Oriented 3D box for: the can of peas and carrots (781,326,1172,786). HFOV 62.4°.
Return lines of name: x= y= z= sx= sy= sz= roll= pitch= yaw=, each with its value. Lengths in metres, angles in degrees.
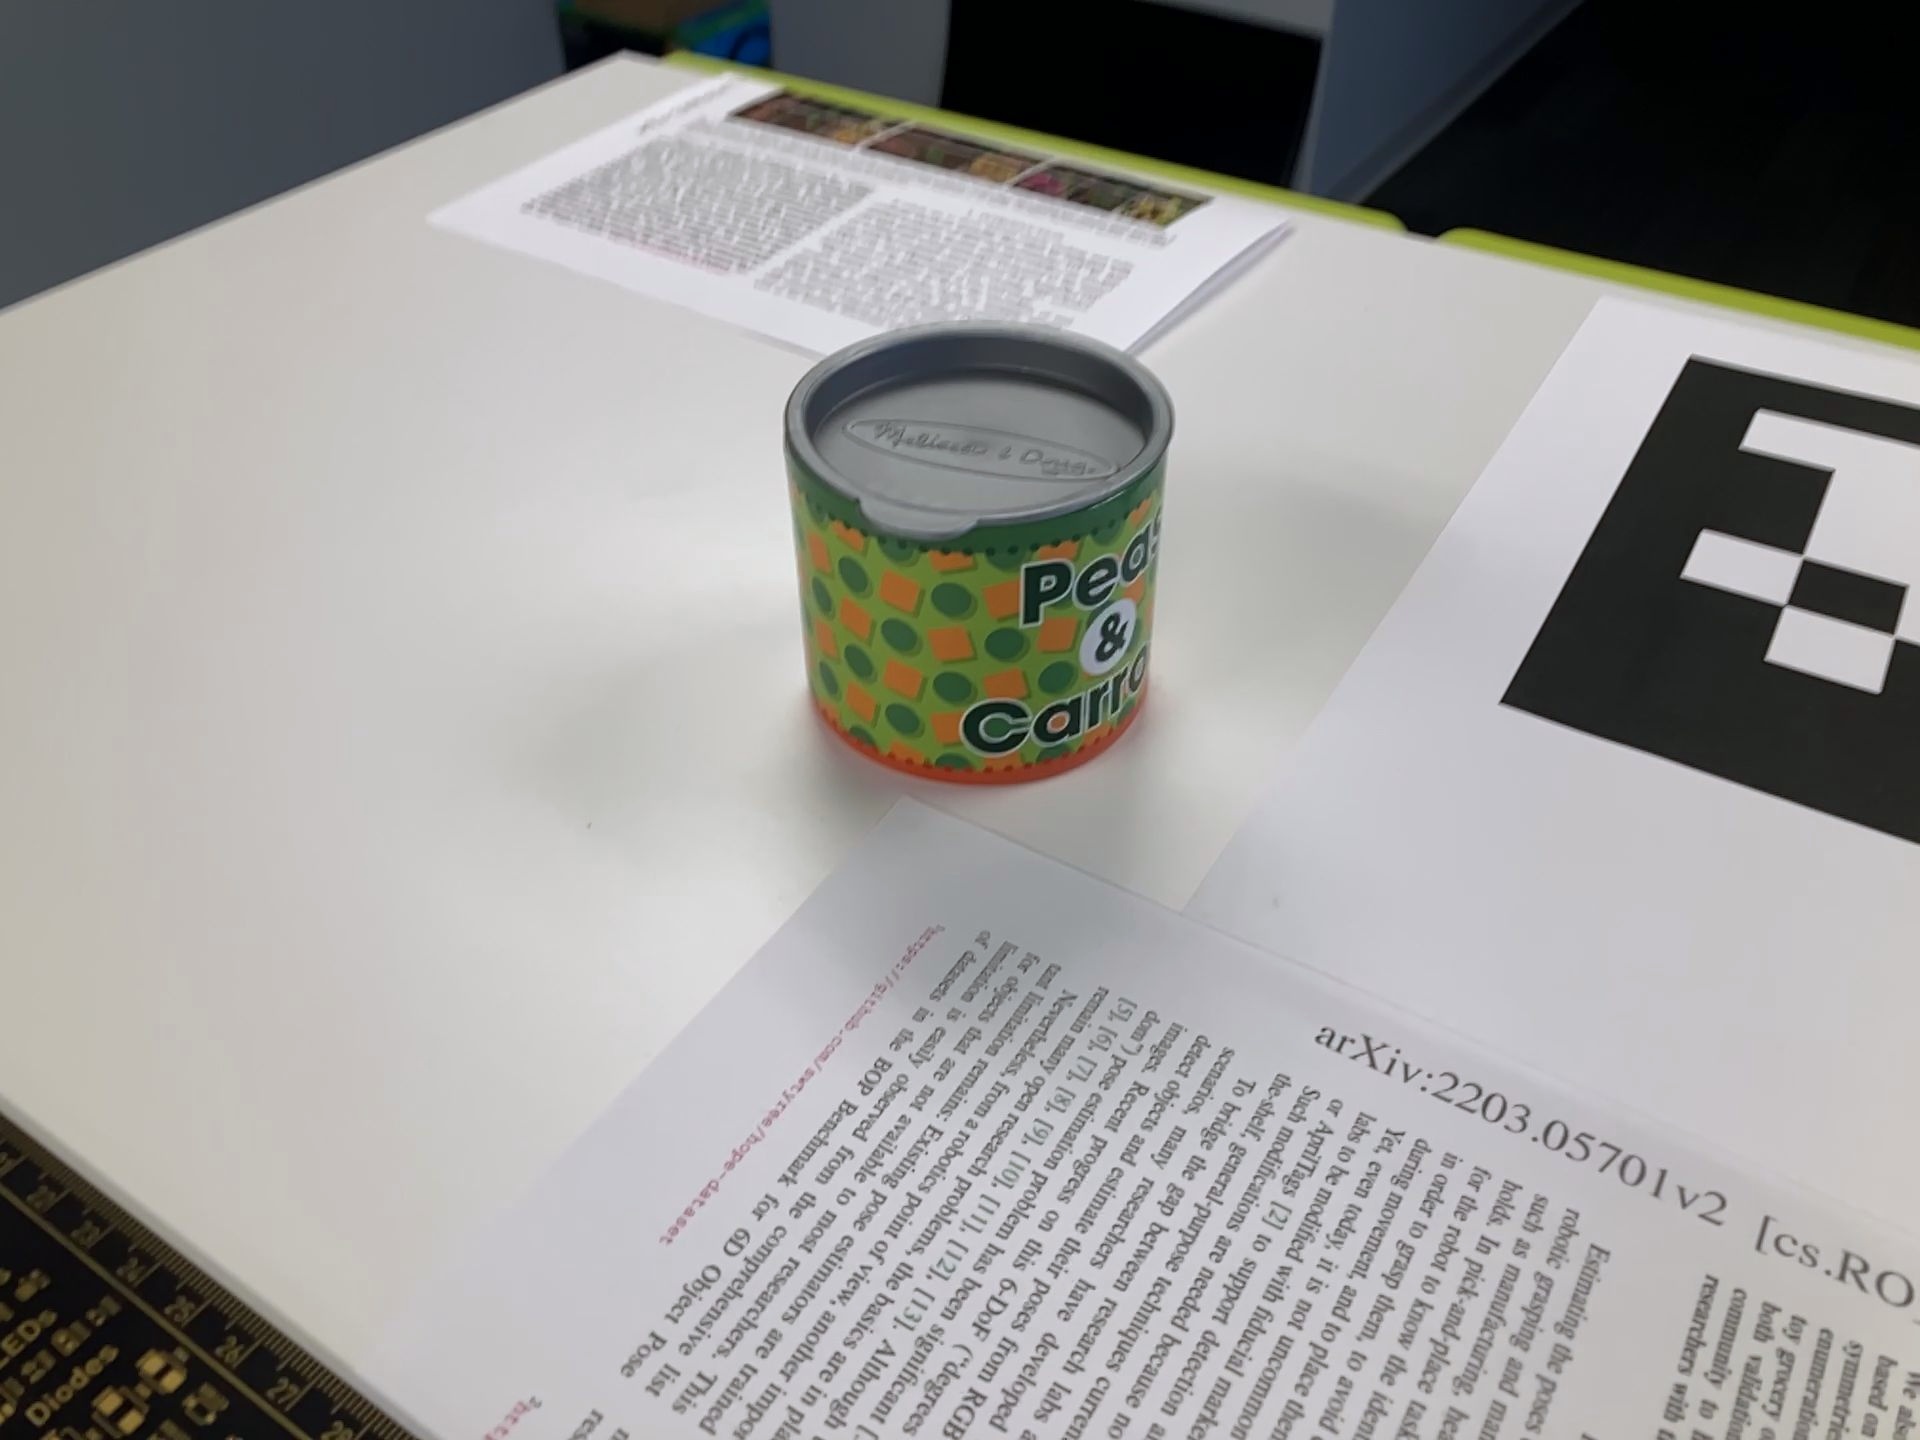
can of peas and carrots: x=0.005 y=-0.029 z=0.286 sx=0.071 sy=0.059 sz=0.071 roll=0 pitch=40 yaw=0
